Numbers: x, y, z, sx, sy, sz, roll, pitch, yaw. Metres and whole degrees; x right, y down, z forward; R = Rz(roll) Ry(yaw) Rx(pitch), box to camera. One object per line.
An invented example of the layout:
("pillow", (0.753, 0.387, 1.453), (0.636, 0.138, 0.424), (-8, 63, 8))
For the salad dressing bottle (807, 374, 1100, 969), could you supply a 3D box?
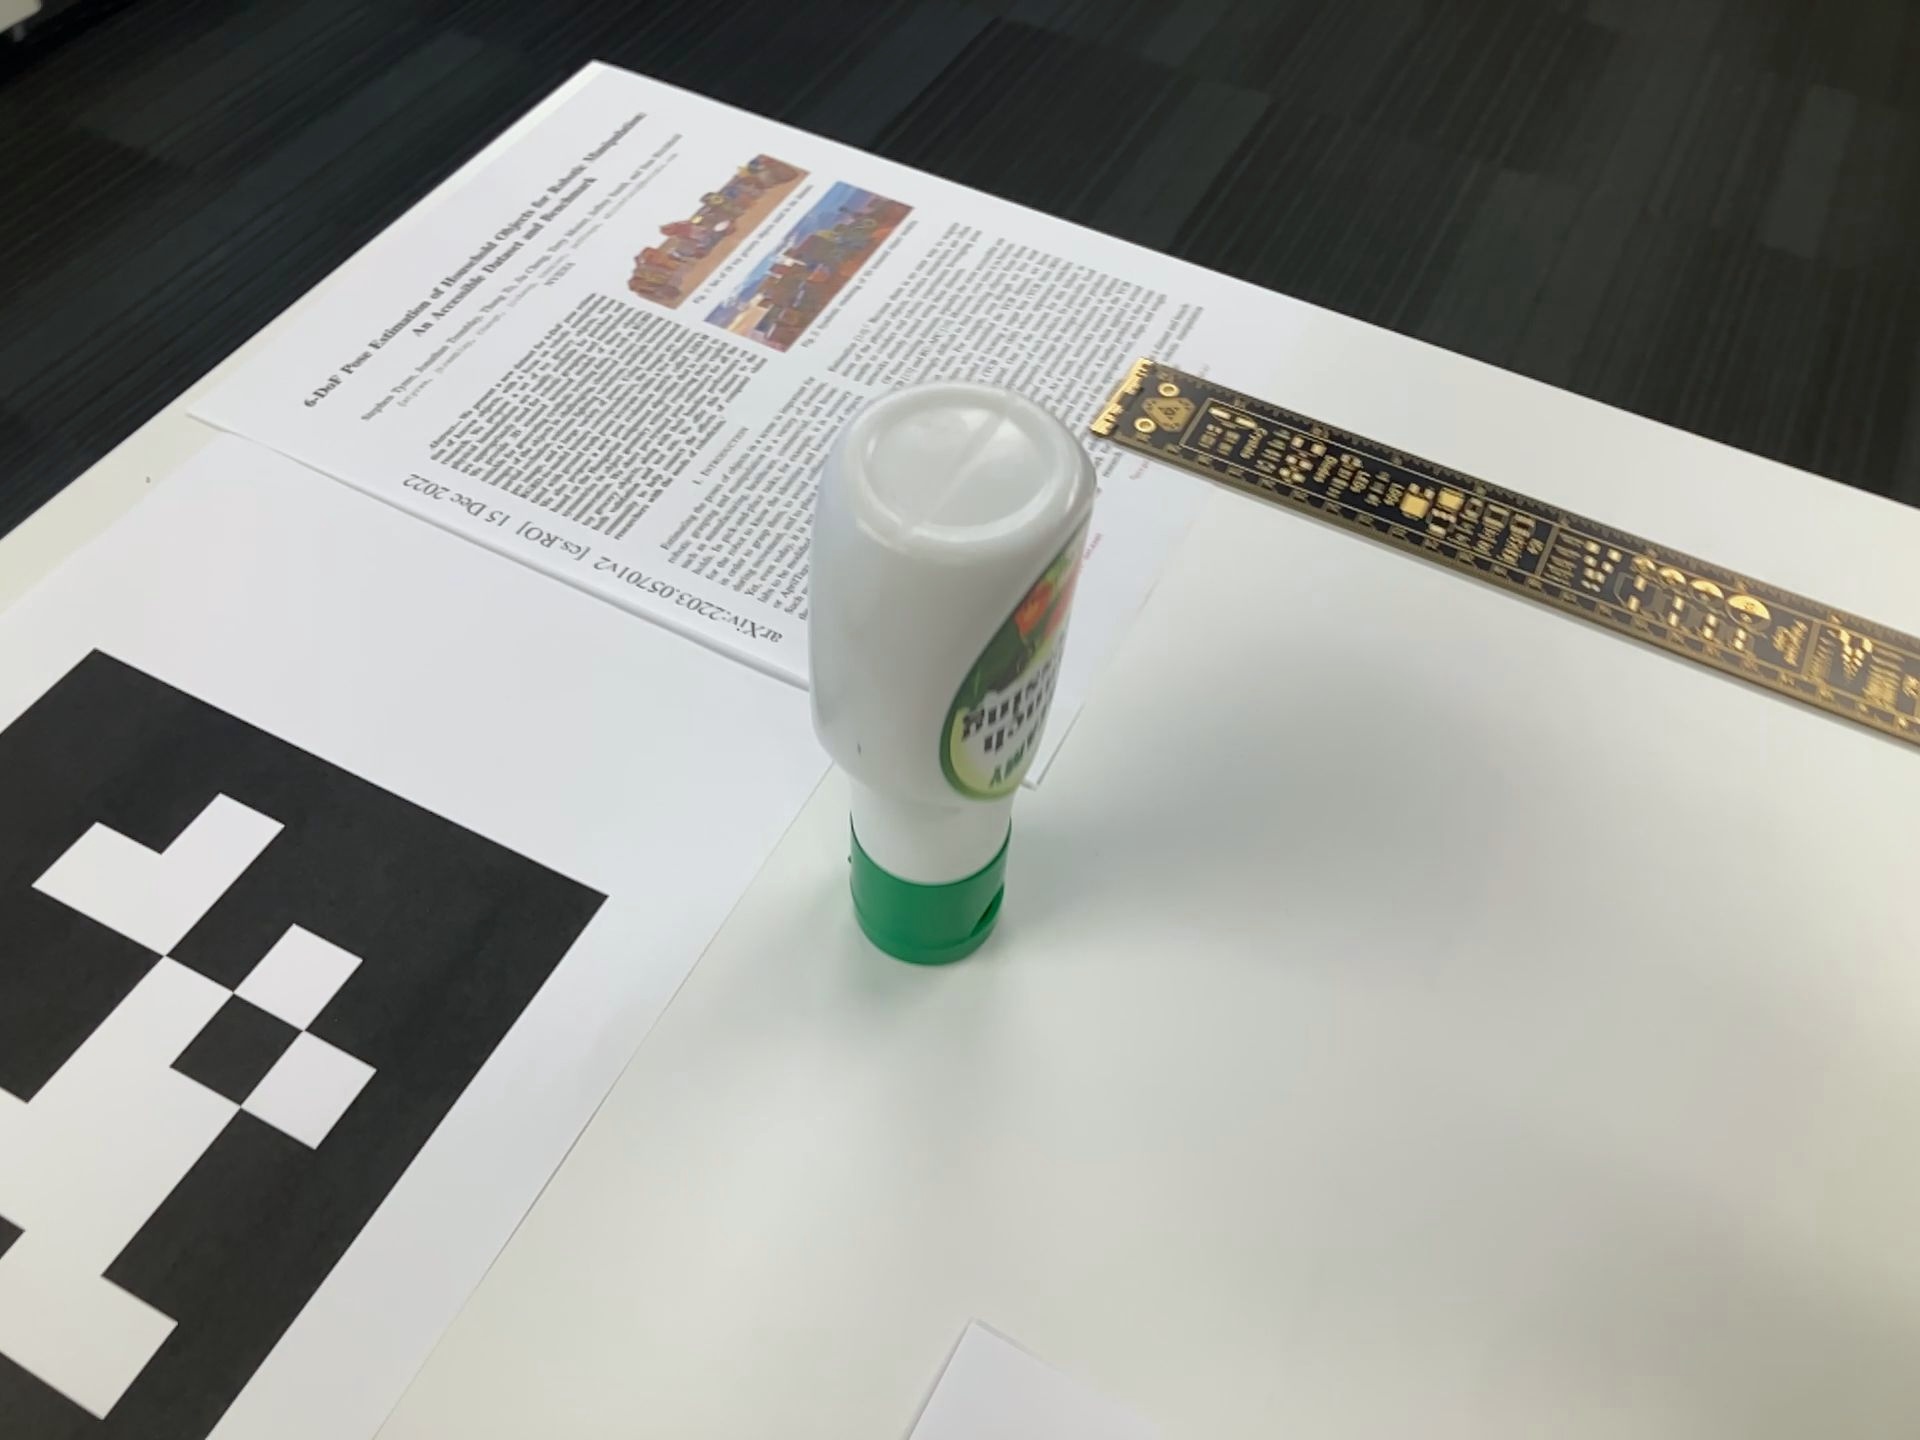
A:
("salad dressing bottle", (-0.004, 0.000, 0.322), (0.044, 0.147, 0.064), (26, 56, 14))
